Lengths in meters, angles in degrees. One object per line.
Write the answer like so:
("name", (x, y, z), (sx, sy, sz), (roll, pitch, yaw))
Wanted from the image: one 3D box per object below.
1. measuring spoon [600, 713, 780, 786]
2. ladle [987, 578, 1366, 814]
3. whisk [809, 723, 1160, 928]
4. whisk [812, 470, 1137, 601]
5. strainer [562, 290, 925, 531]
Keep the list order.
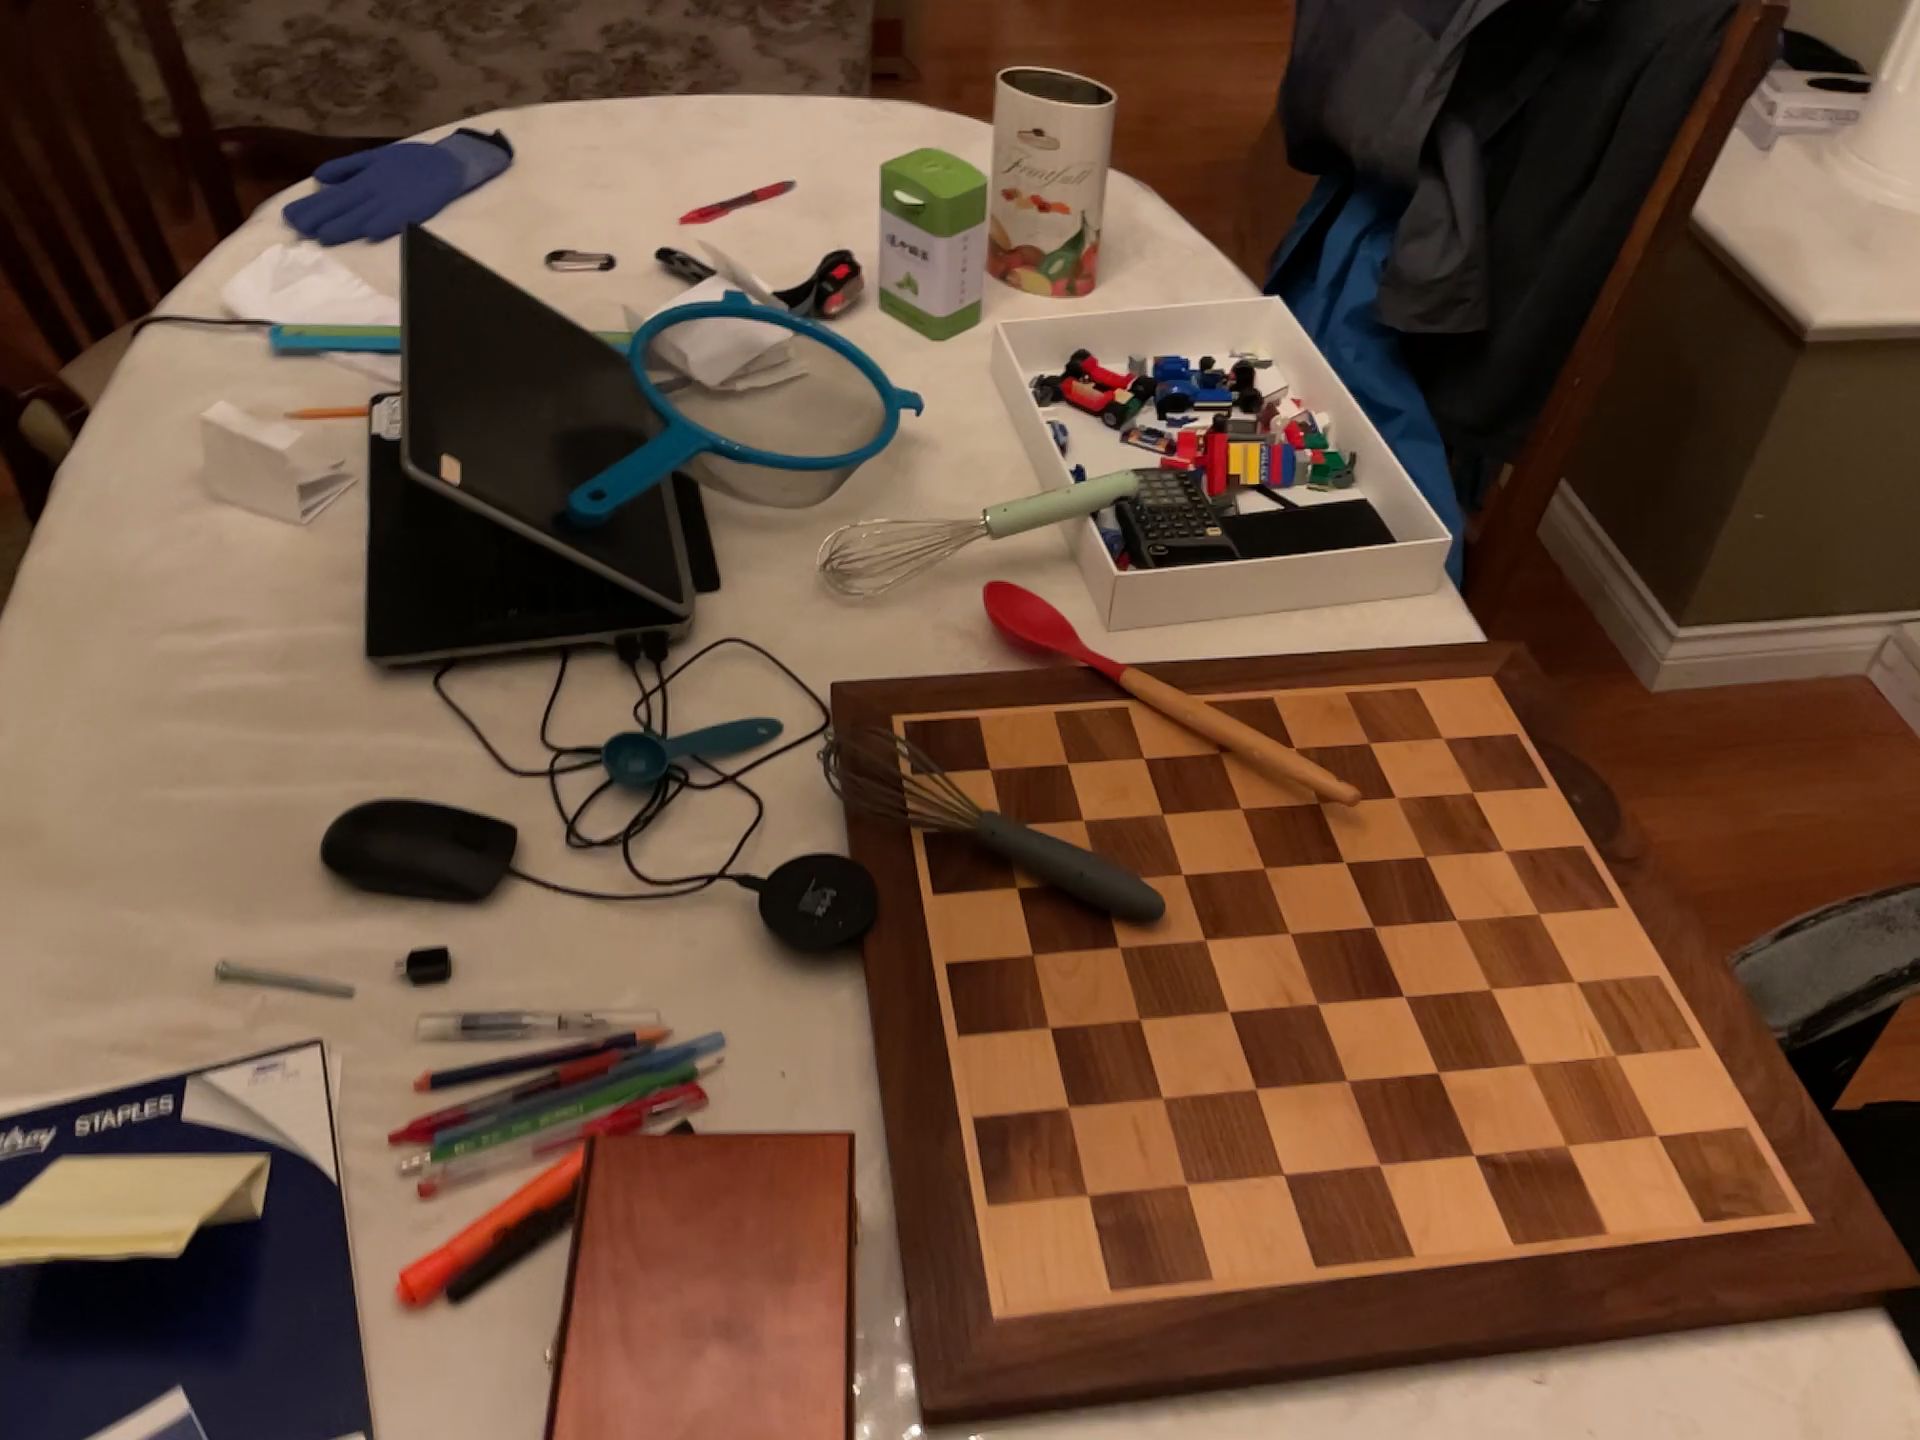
("measuring spoon", (-0.174, 0.019, 1.033), (0.128, 0.021, 0.042), (-15, 53, -35))
("ladle", (0.135, -0.018, 1.060), (0.316, 0.031, 0.069), (33, 28, 33))
("whisk", (0.012, 0.066, 0.955), (0.239, 0.055, 0.055), (27, 61, 17))
("whisk", (0.011, -0.140, 1.162), (0.246, 0.057, 0.059), (-16, 75, -1))
("strainer", (-0.188, -0.197, 1.195), (0.211, 0.095, 0.340), (31, 43, 9))
